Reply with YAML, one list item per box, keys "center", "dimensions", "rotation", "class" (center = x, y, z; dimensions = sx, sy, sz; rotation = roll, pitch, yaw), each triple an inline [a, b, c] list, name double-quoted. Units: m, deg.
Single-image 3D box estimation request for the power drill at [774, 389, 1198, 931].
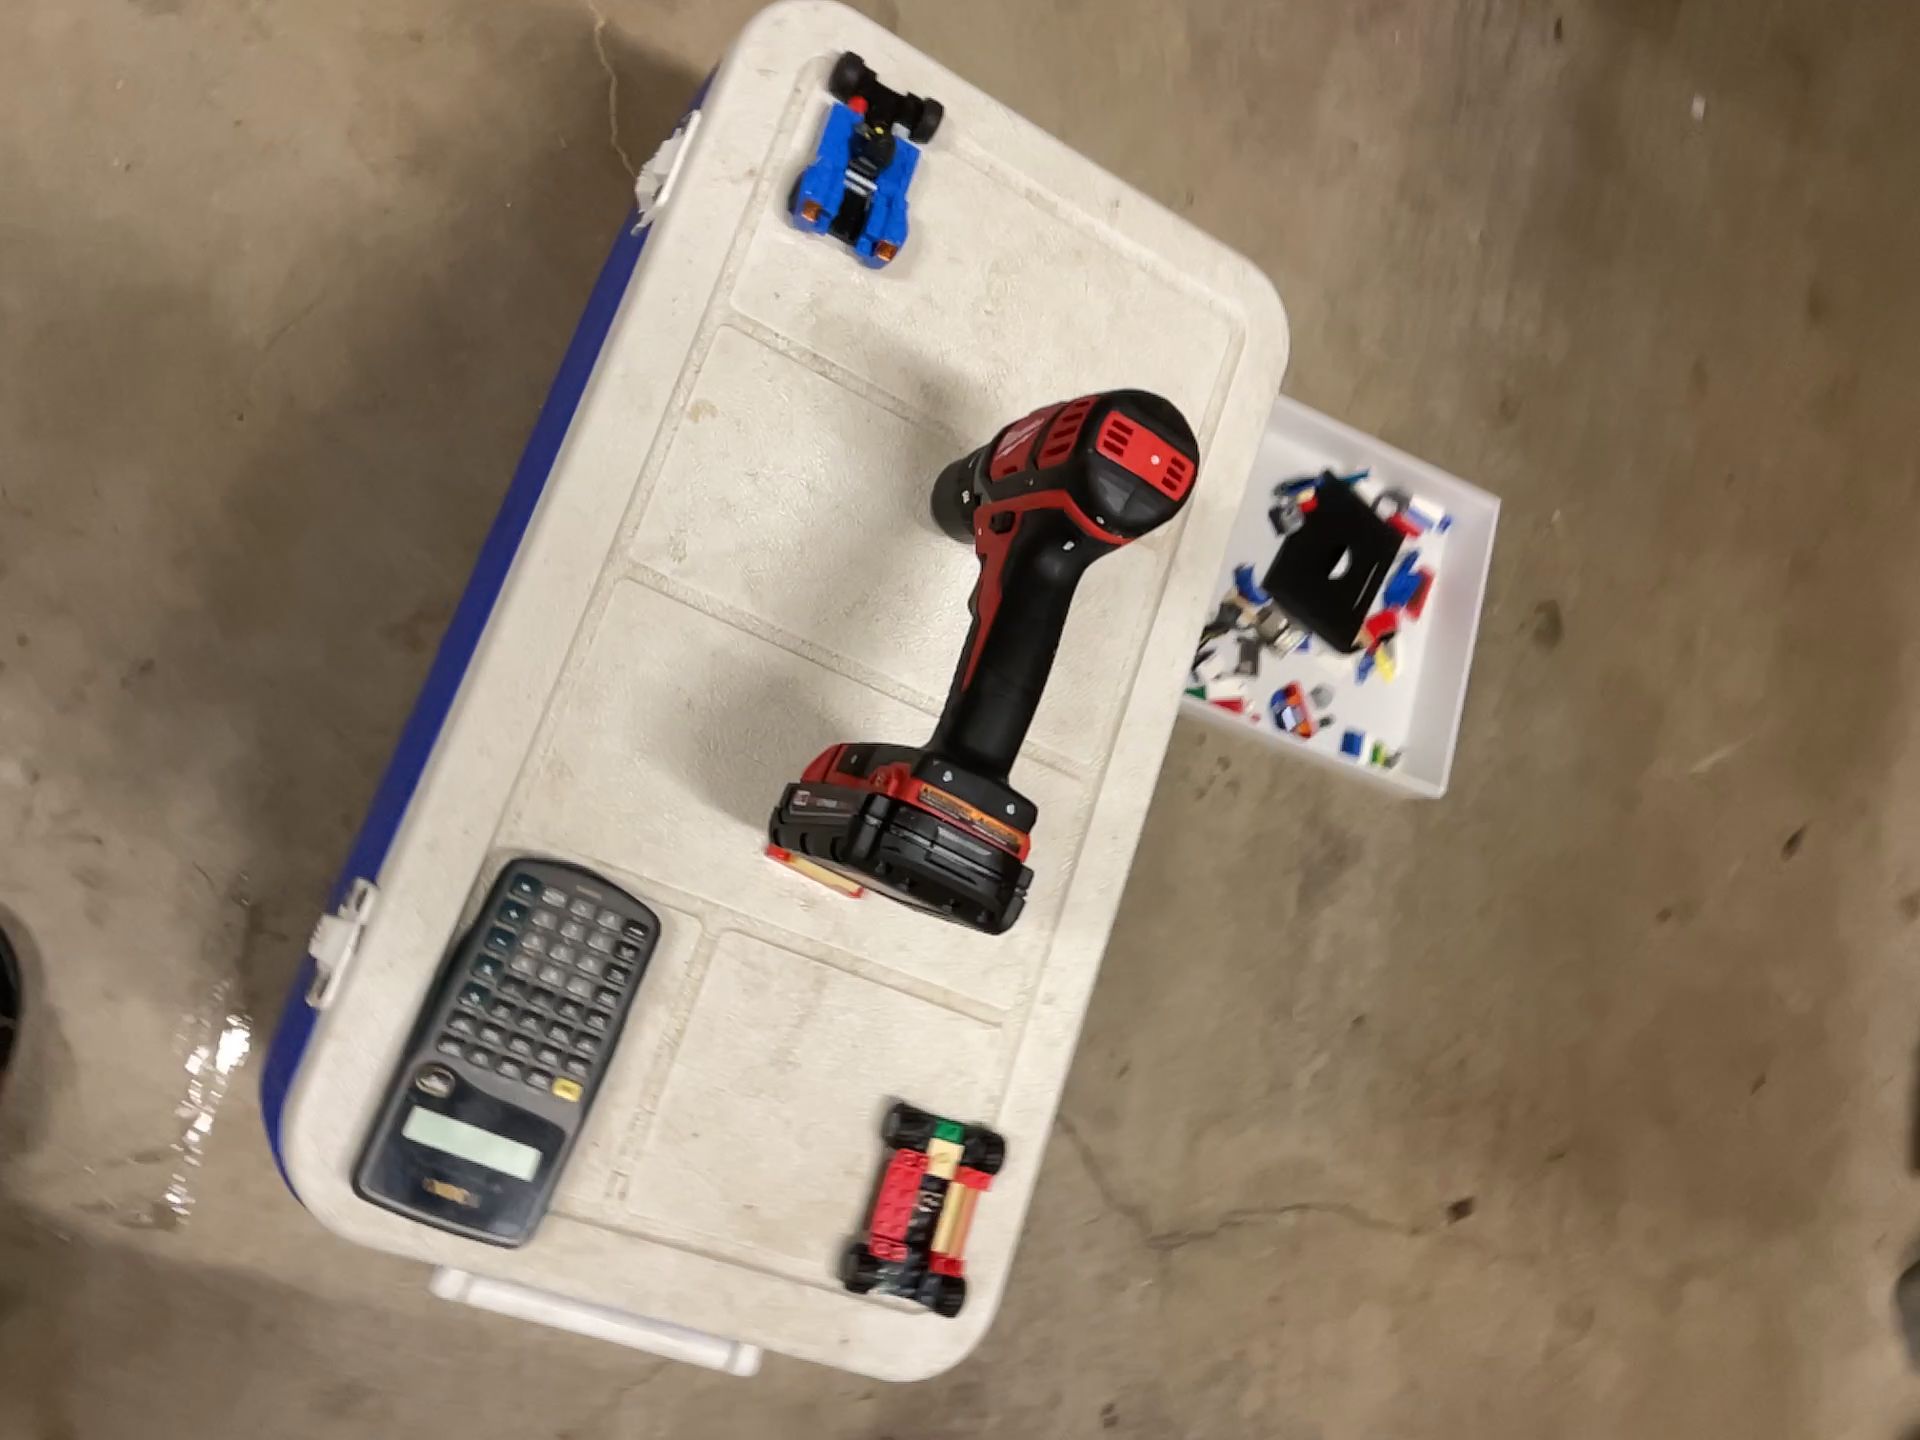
- center: [0.005, -0.033, 0.701]
  dimensions: [0.080, 0.188, 0.227]
  rotation: [28, 80, -21]
  class: "power drill"
